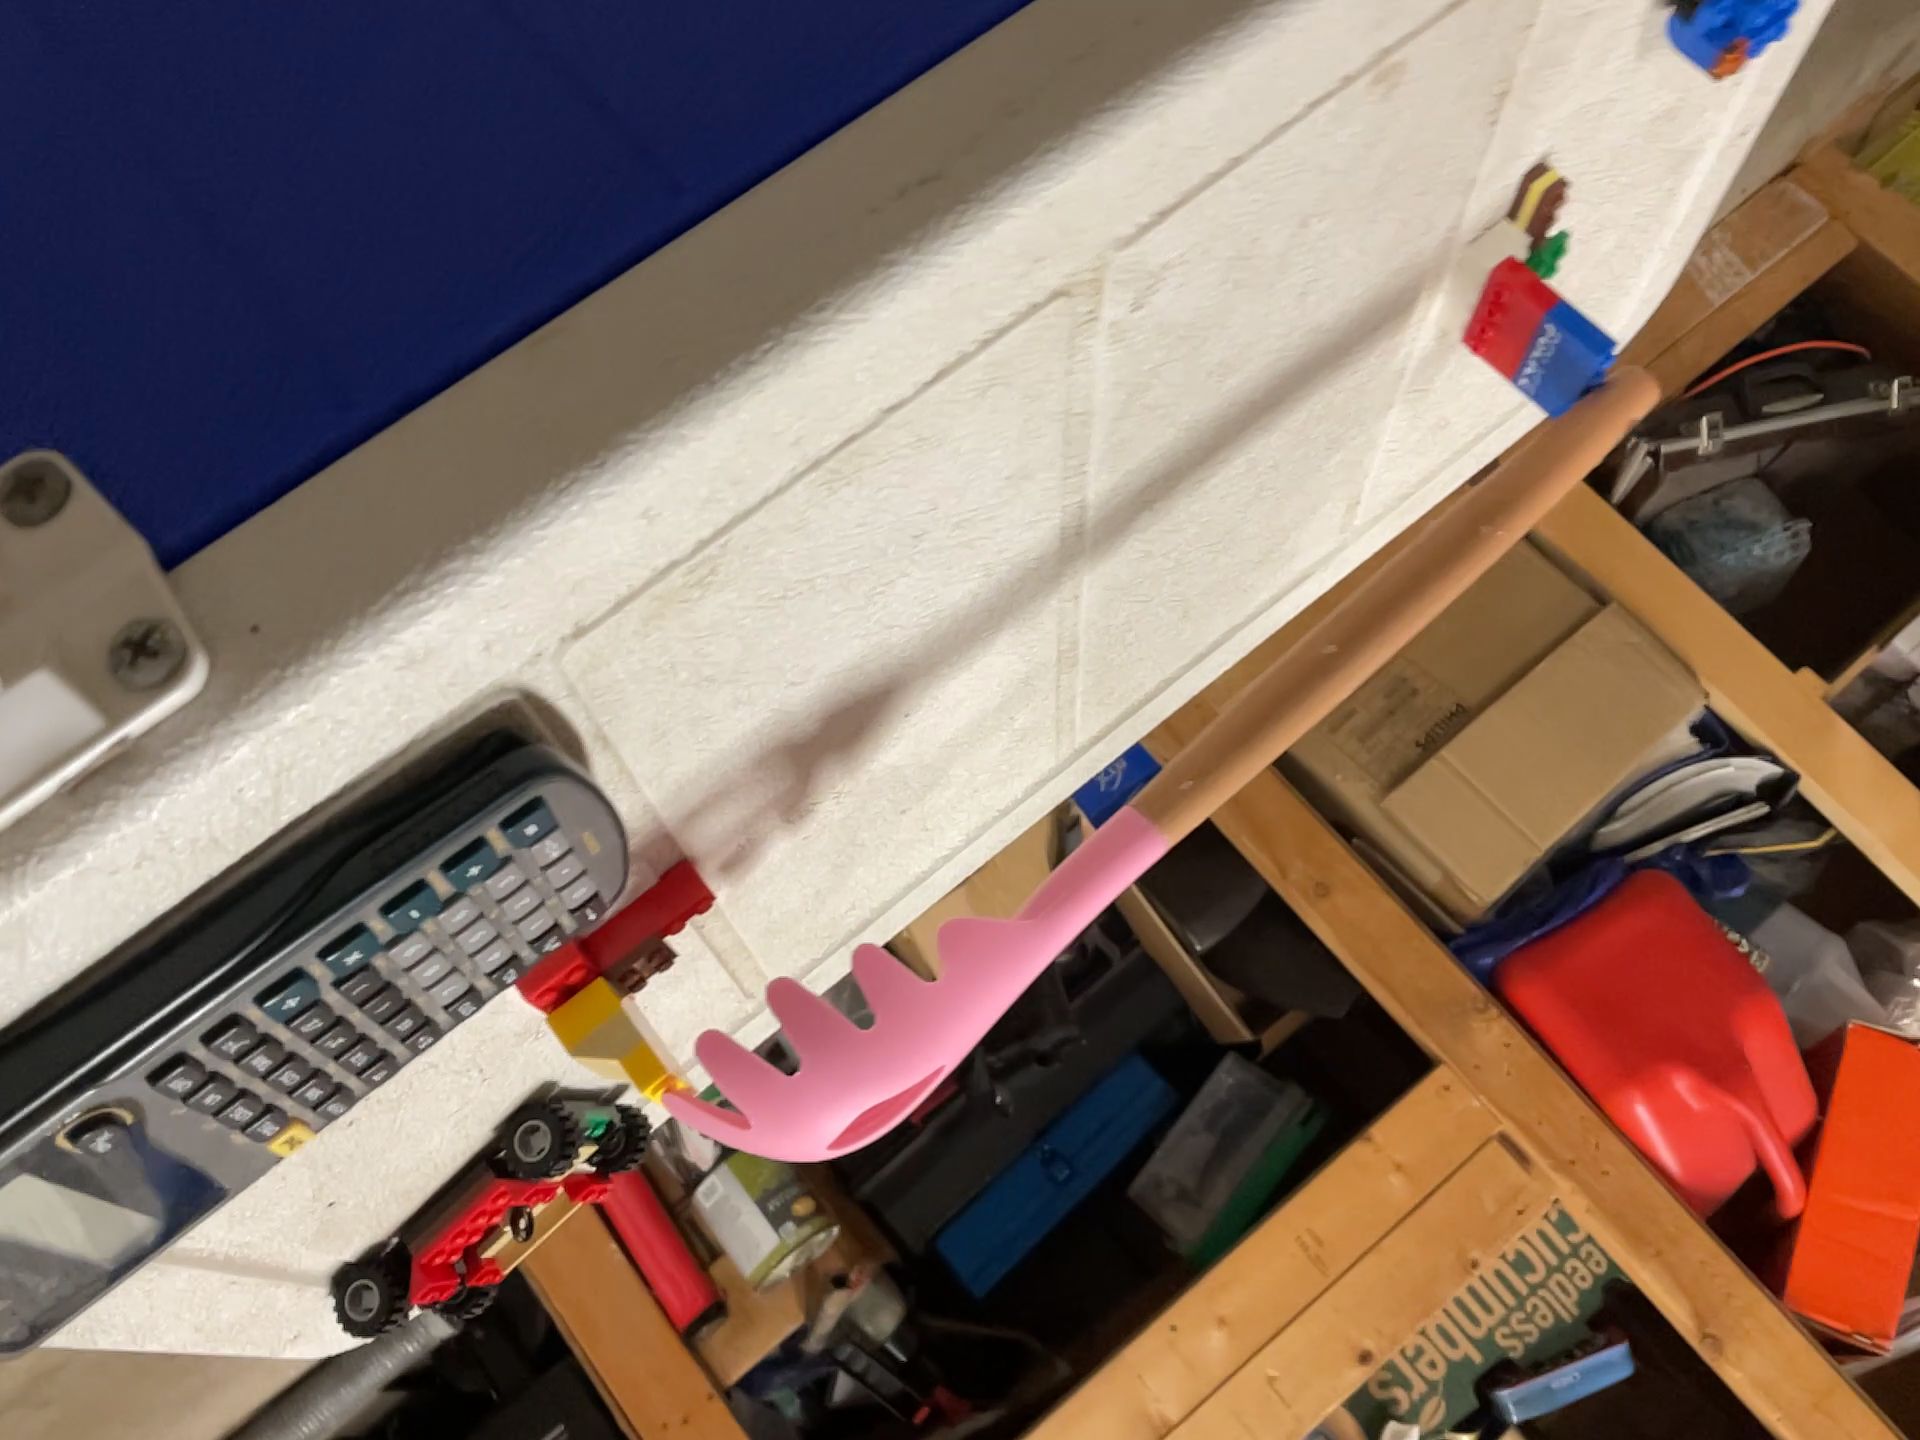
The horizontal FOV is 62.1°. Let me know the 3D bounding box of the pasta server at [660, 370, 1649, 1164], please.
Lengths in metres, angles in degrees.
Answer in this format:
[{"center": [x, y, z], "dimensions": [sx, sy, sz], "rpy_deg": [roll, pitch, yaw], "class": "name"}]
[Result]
[{"center": [0.061, 0.005, 0.405], "dimensions": [0.316, 0.040, 0.060], "rpy_deg": [-41, 160, -12], "class": "pasta server"}]
